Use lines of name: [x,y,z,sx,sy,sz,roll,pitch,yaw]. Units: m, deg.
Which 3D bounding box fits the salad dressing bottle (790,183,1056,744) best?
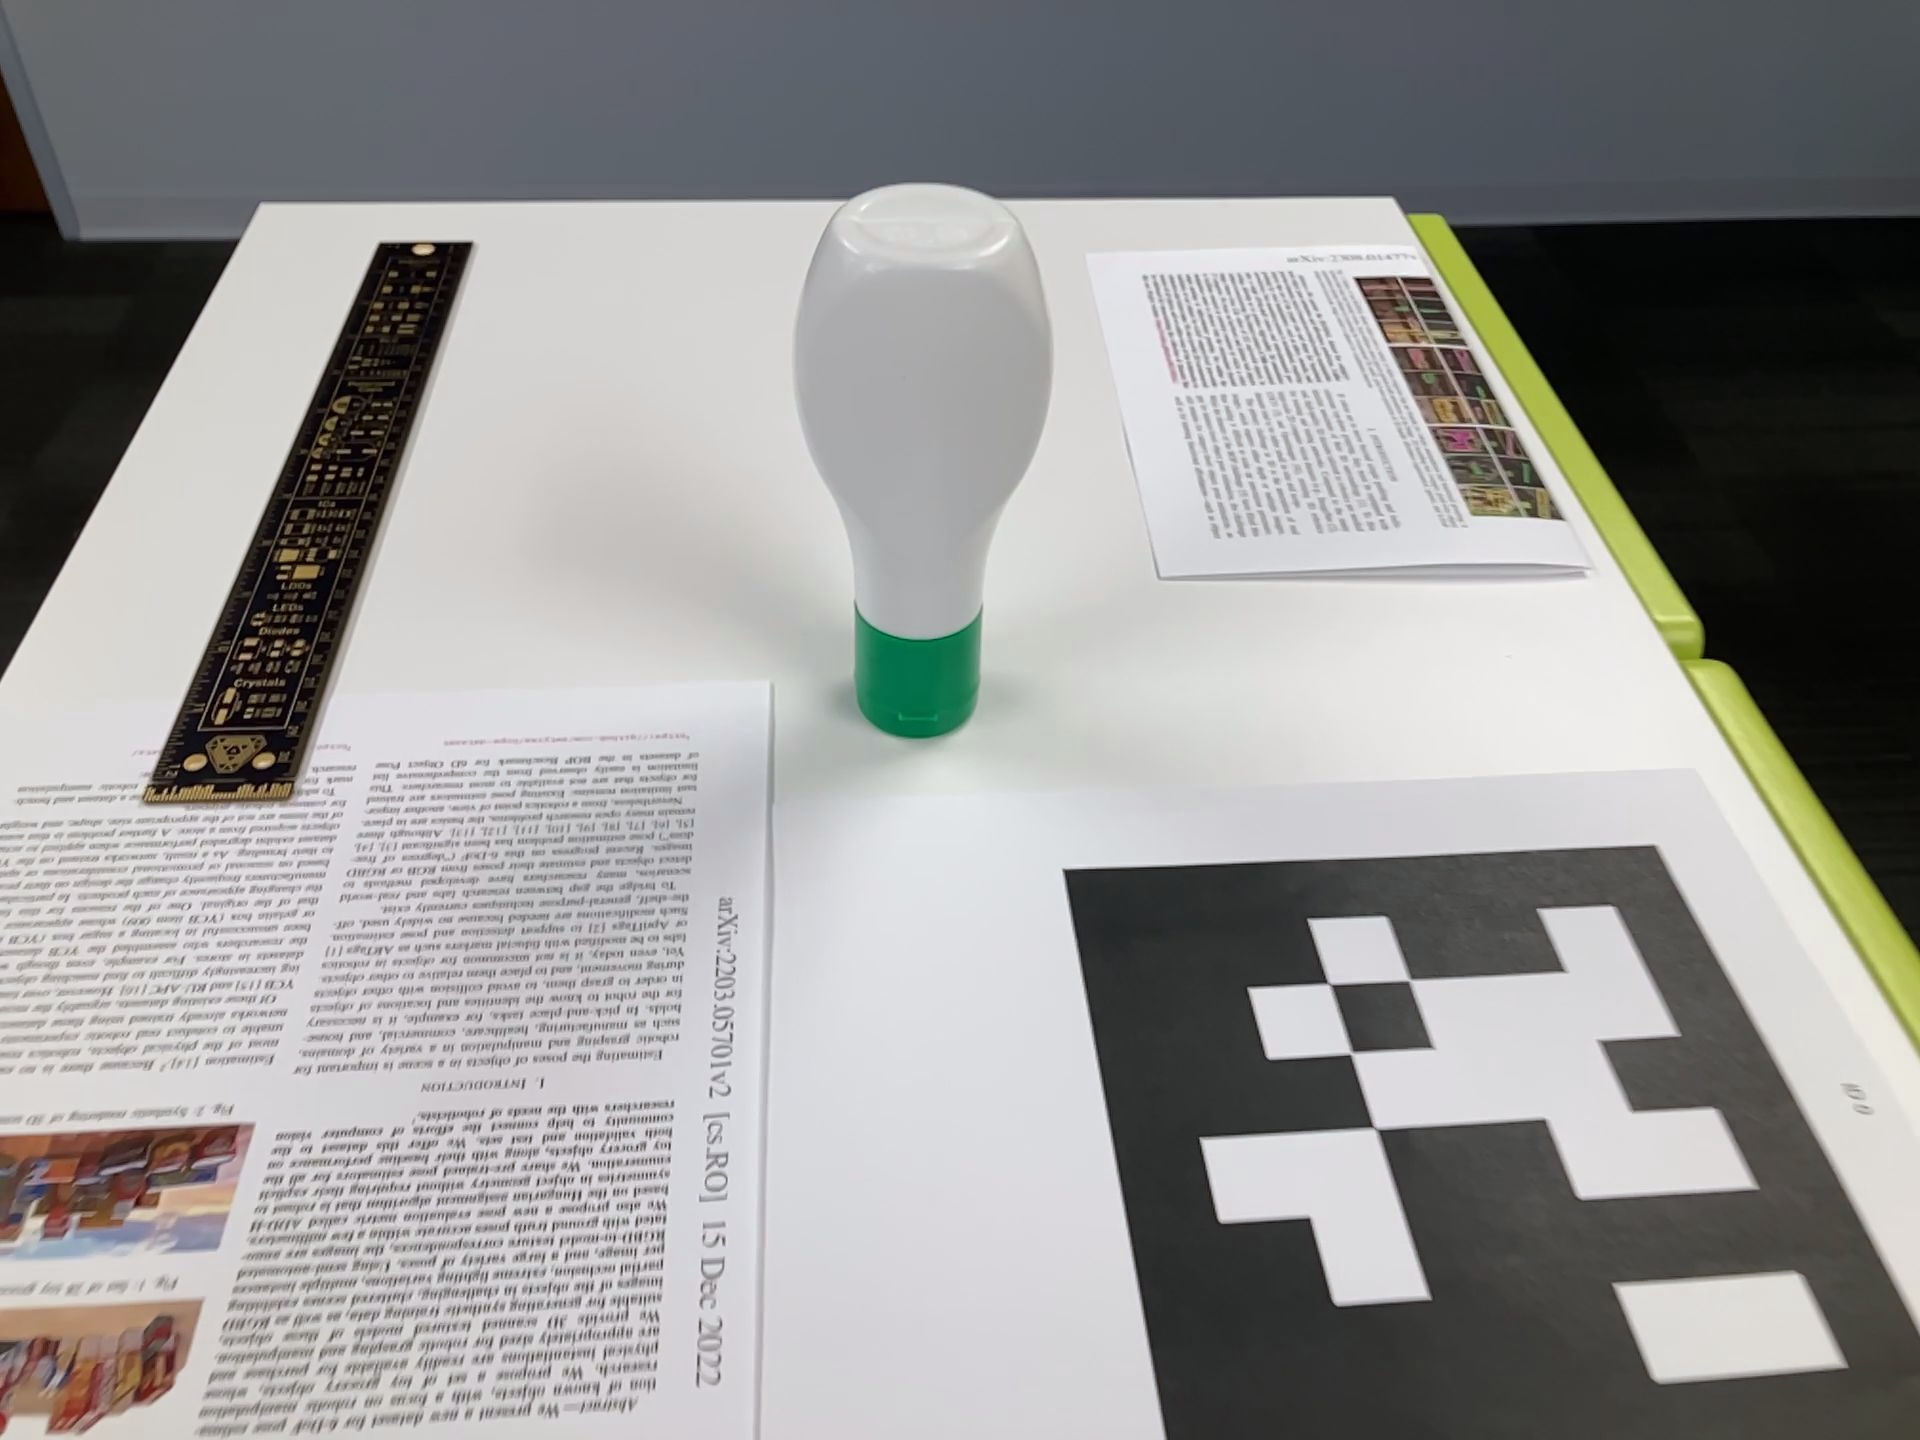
salad dressing bottle: [-0.010,-0.059,0.410,0.064,0.147,0.044,0,42,-3]
